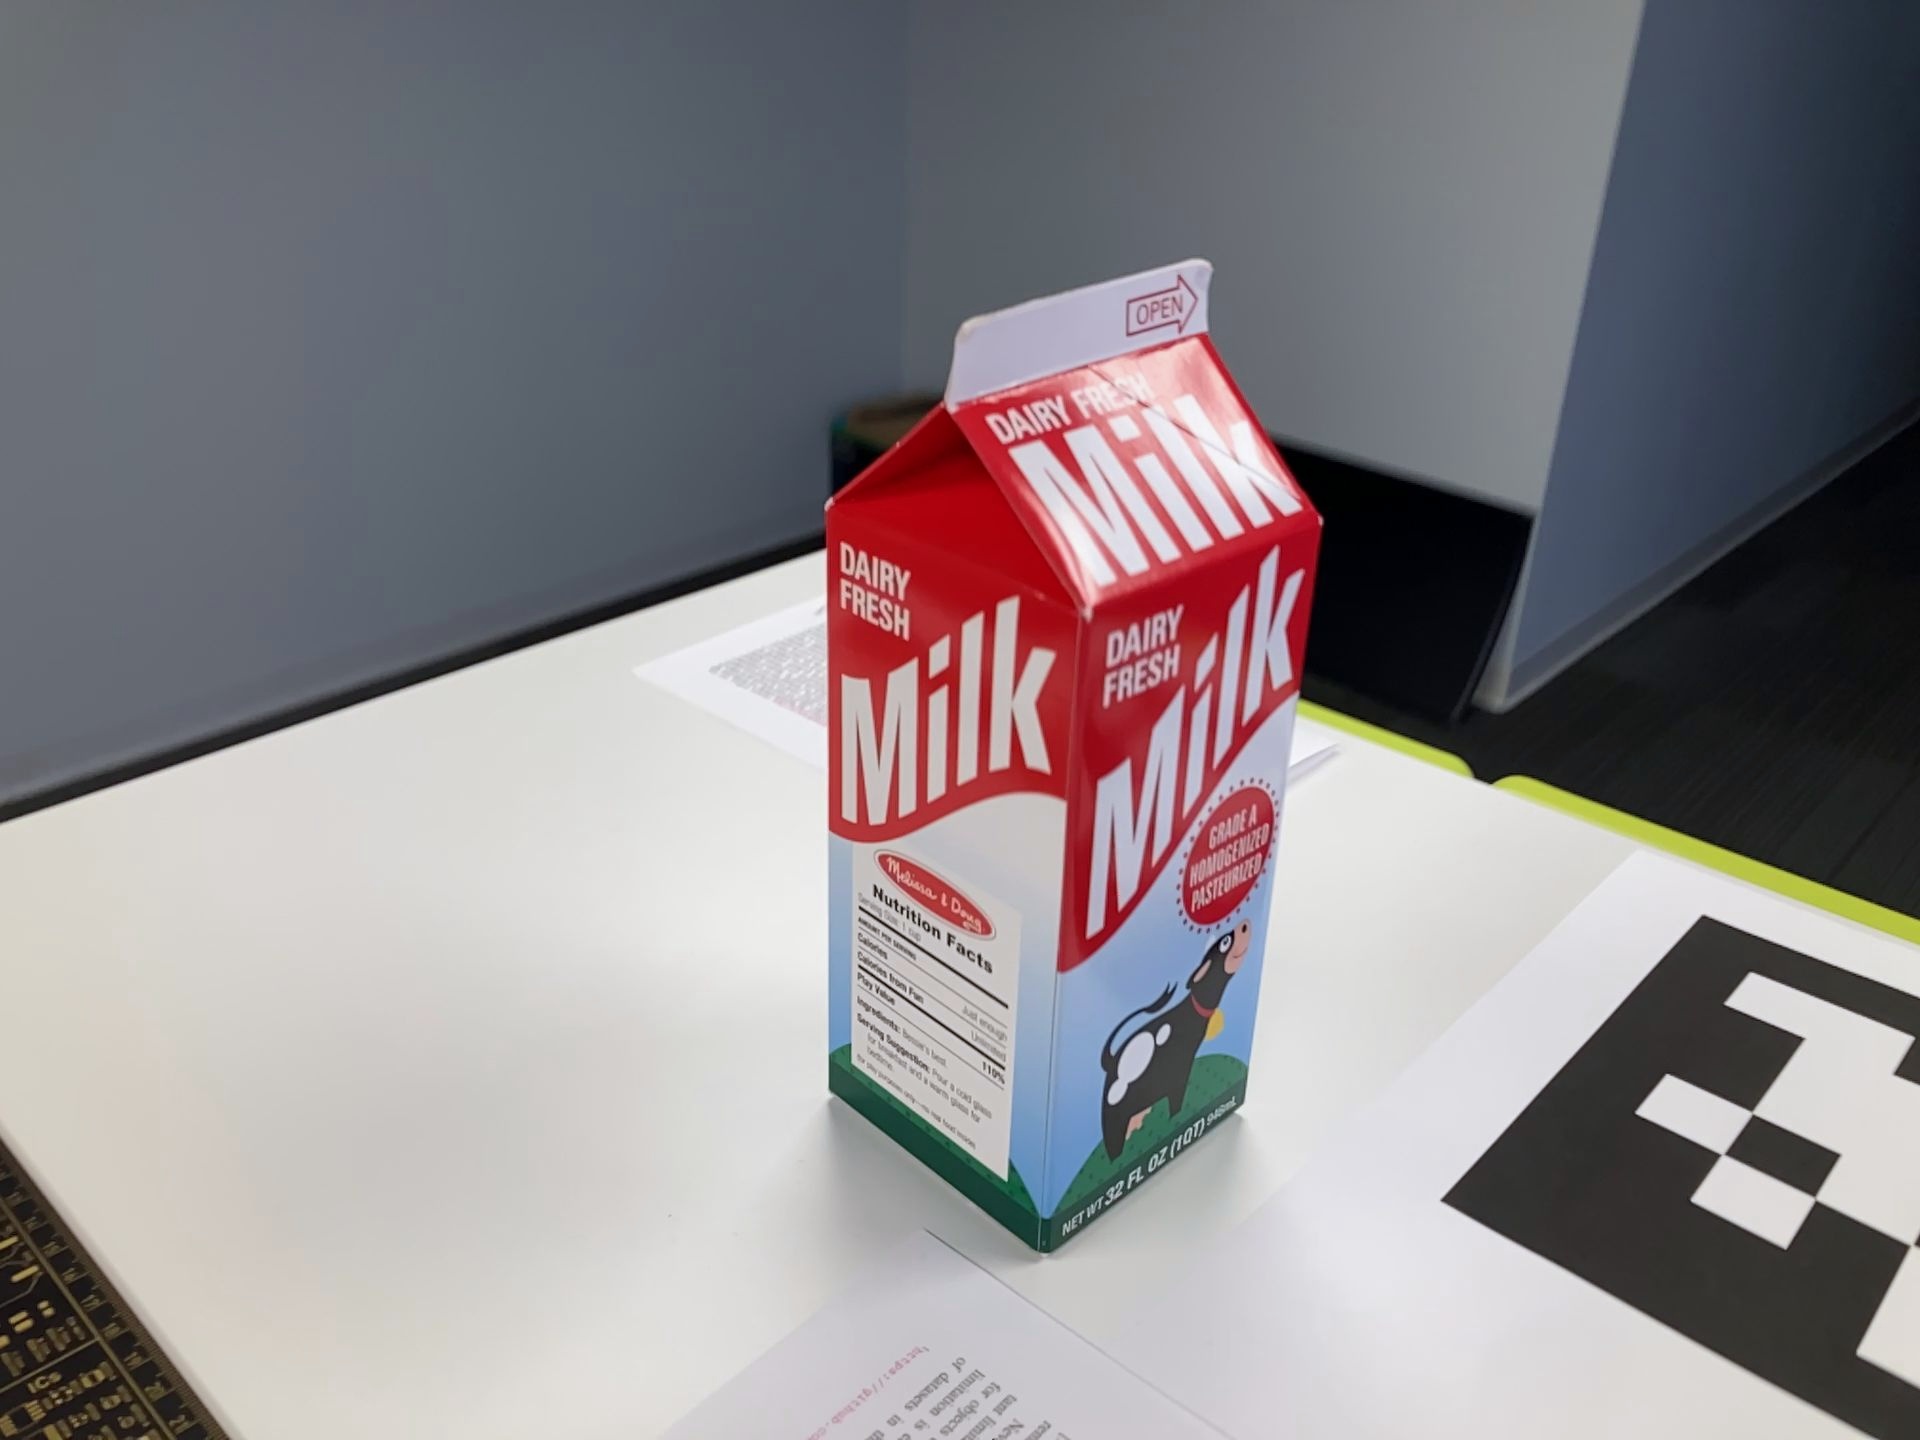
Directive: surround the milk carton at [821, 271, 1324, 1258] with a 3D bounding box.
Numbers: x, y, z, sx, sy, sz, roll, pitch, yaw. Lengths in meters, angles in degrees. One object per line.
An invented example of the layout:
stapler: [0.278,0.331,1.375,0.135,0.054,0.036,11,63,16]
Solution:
milk carton: [0.020,0.007,0.333,0.072,0.190,0.073,-23,35,-39]
